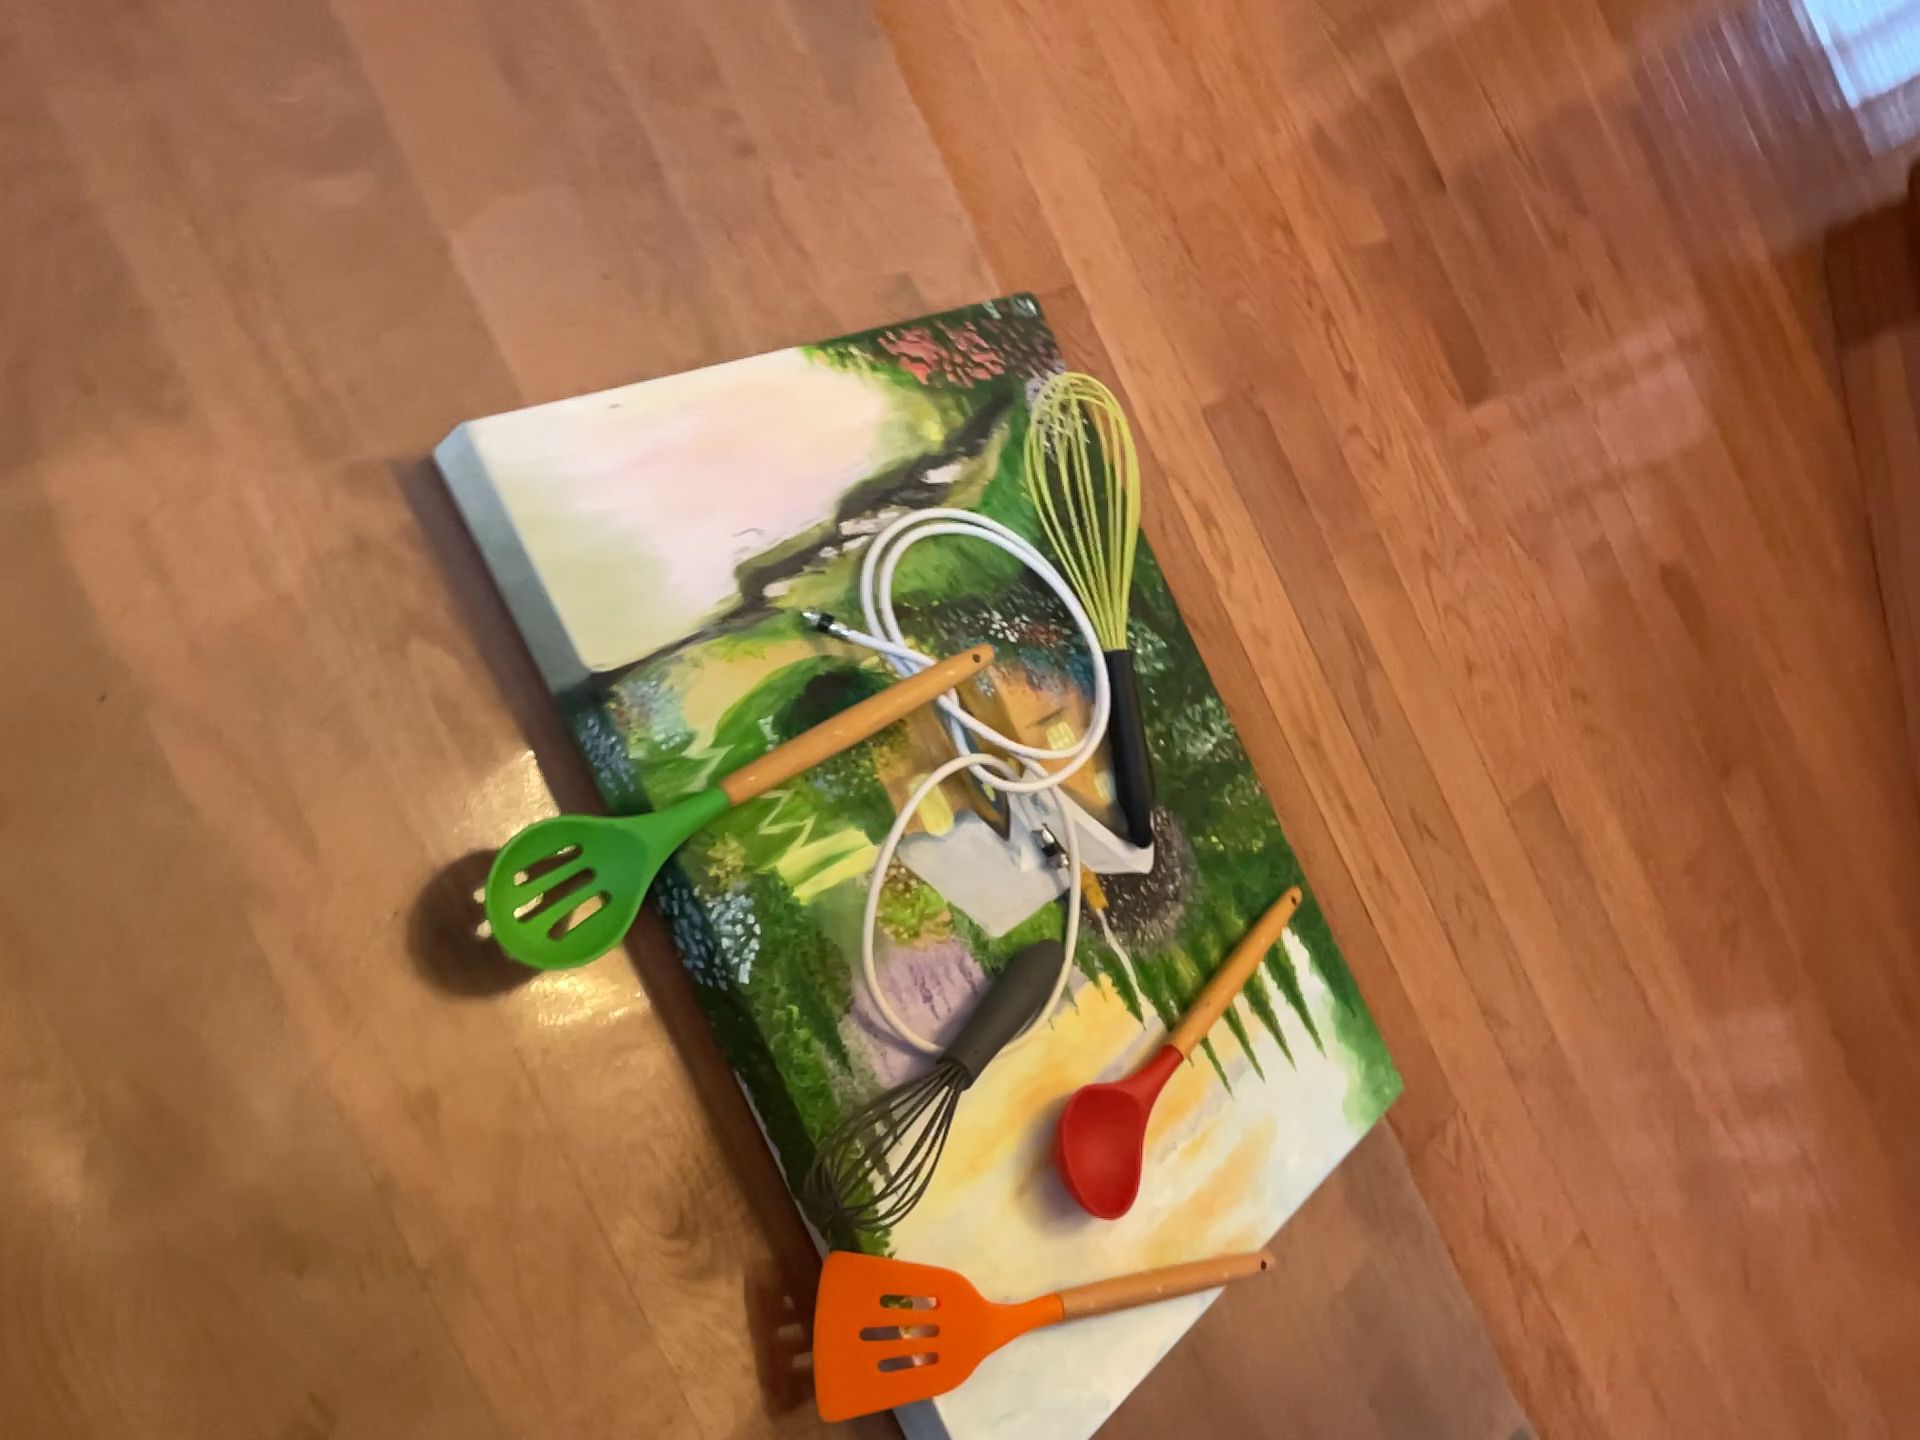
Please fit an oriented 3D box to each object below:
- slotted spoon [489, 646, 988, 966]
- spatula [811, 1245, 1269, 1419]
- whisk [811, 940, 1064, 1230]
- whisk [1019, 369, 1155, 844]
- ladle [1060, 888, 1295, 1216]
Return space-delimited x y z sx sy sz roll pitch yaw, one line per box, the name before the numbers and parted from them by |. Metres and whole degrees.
slotted spoon | -0.101 0.030 0.812 0.314 0.031 0.070 -30 94 -33
spatula | 0.060 0.313 0.868 0.322 0.041 0.081 7 80 -42
whisk | -0.002 0.183 0.838 0.239 0.055 0.055 -41 113 -49
whisk | 0.091 -0.075 1.022 0.080 0.067 0.312 -4 82 -37
ladle | 0.142 0.189 0.978 0.315 0.031 0.069 -40 103 -46
